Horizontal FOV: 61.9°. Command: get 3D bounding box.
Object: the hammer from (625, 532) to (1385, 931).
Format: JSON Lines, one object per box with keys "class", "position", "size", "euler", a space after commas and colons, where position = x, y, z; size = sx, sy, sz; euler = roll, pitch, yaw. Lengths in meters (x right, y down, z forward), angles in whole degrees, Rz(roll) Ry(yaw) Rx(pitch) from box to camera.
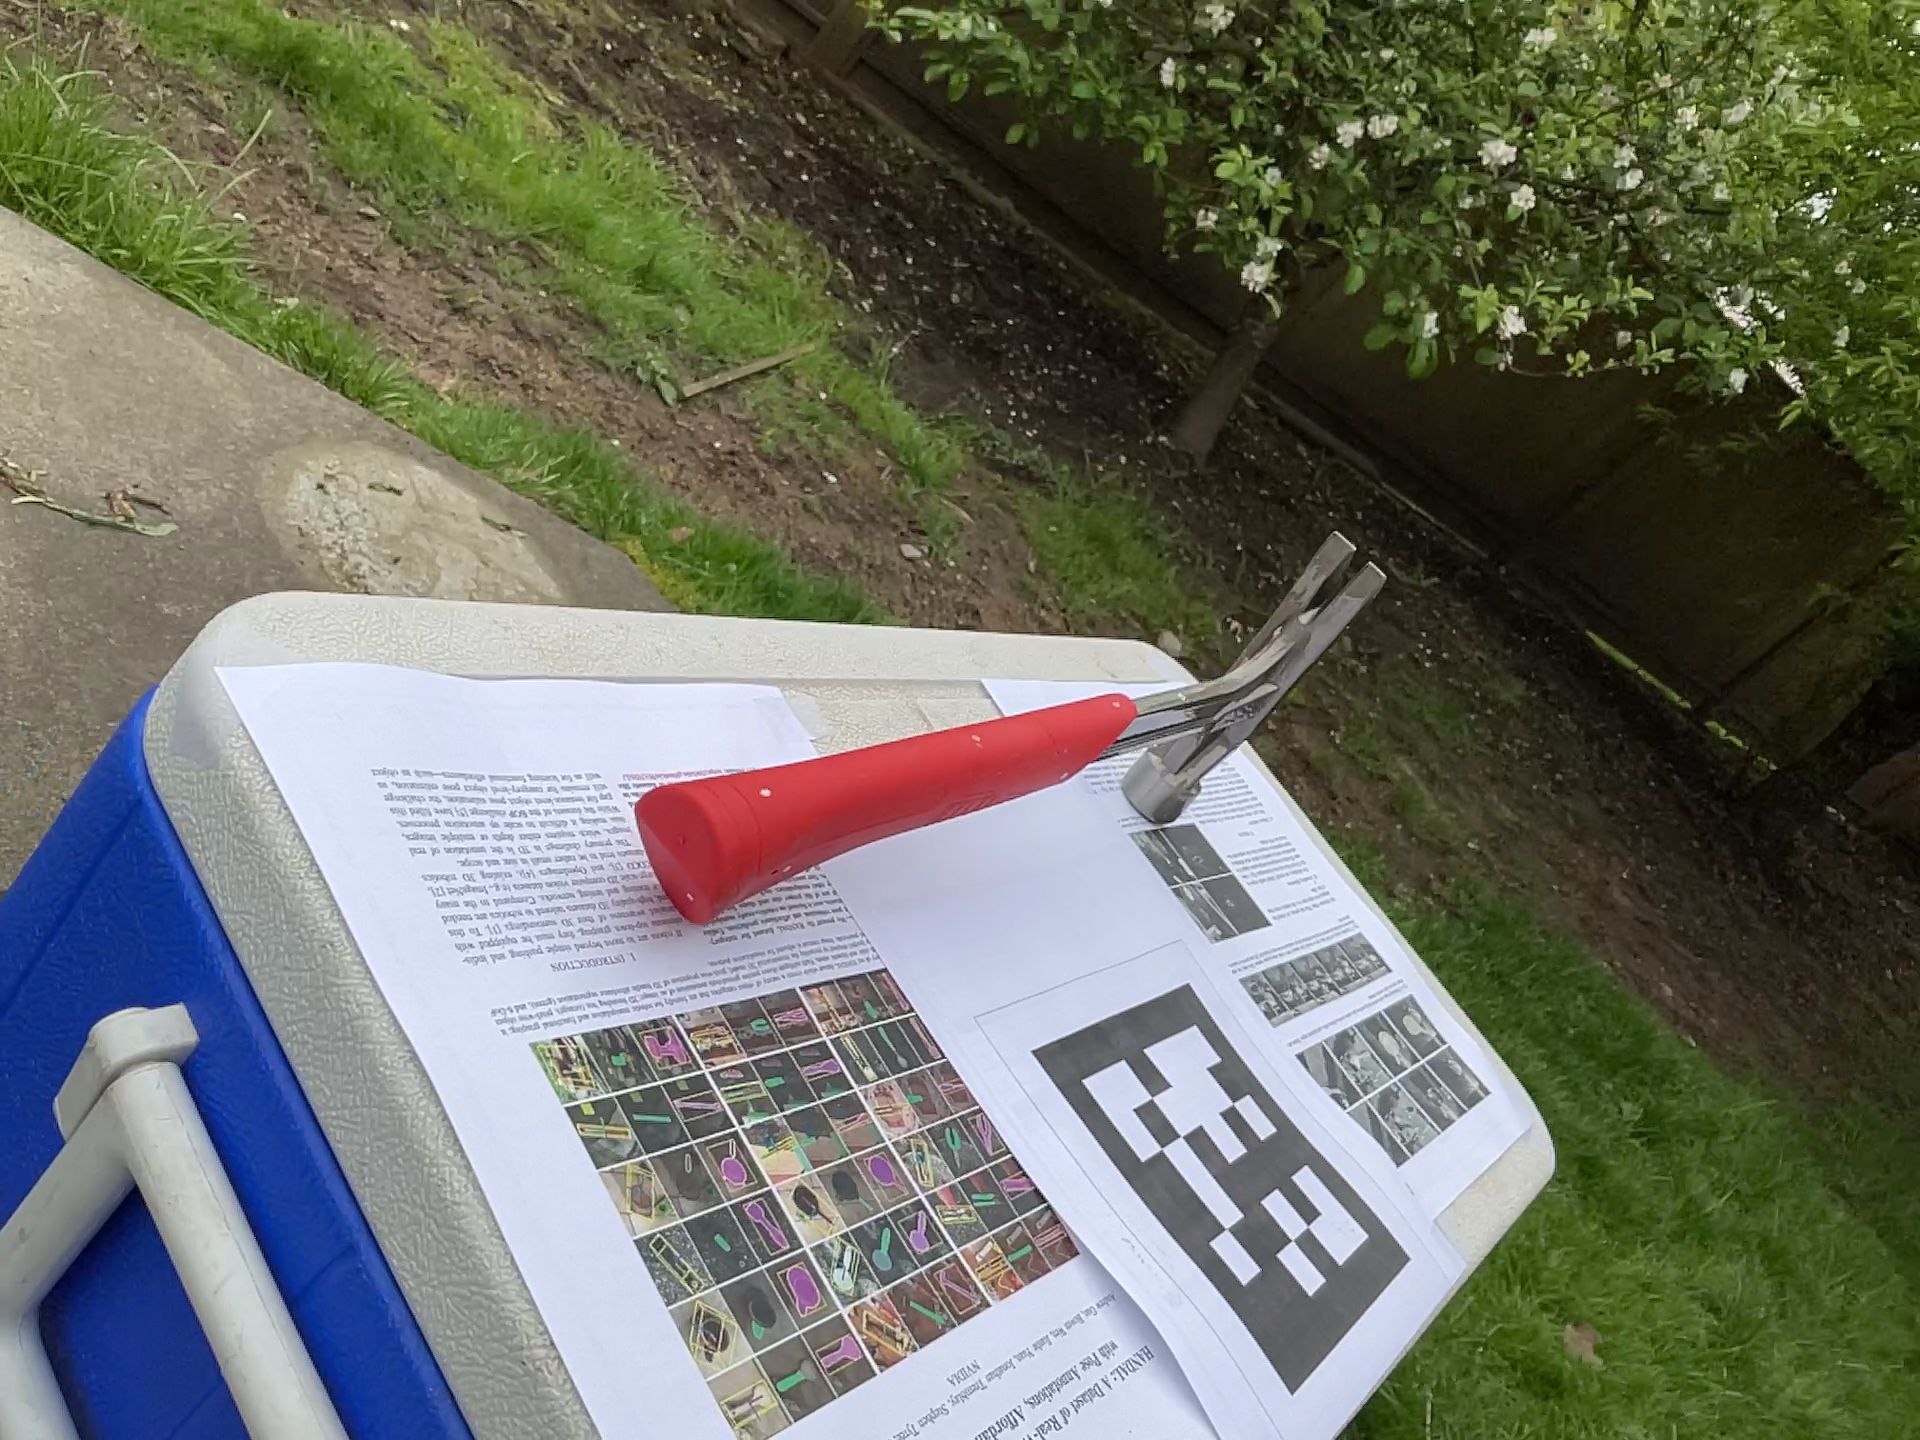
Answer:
{"class": "hammer", "position": [0.031, 0.005, 0.557], "size": [0.037, 0.149, 0.359], "euler": [48, 30, 20]}
